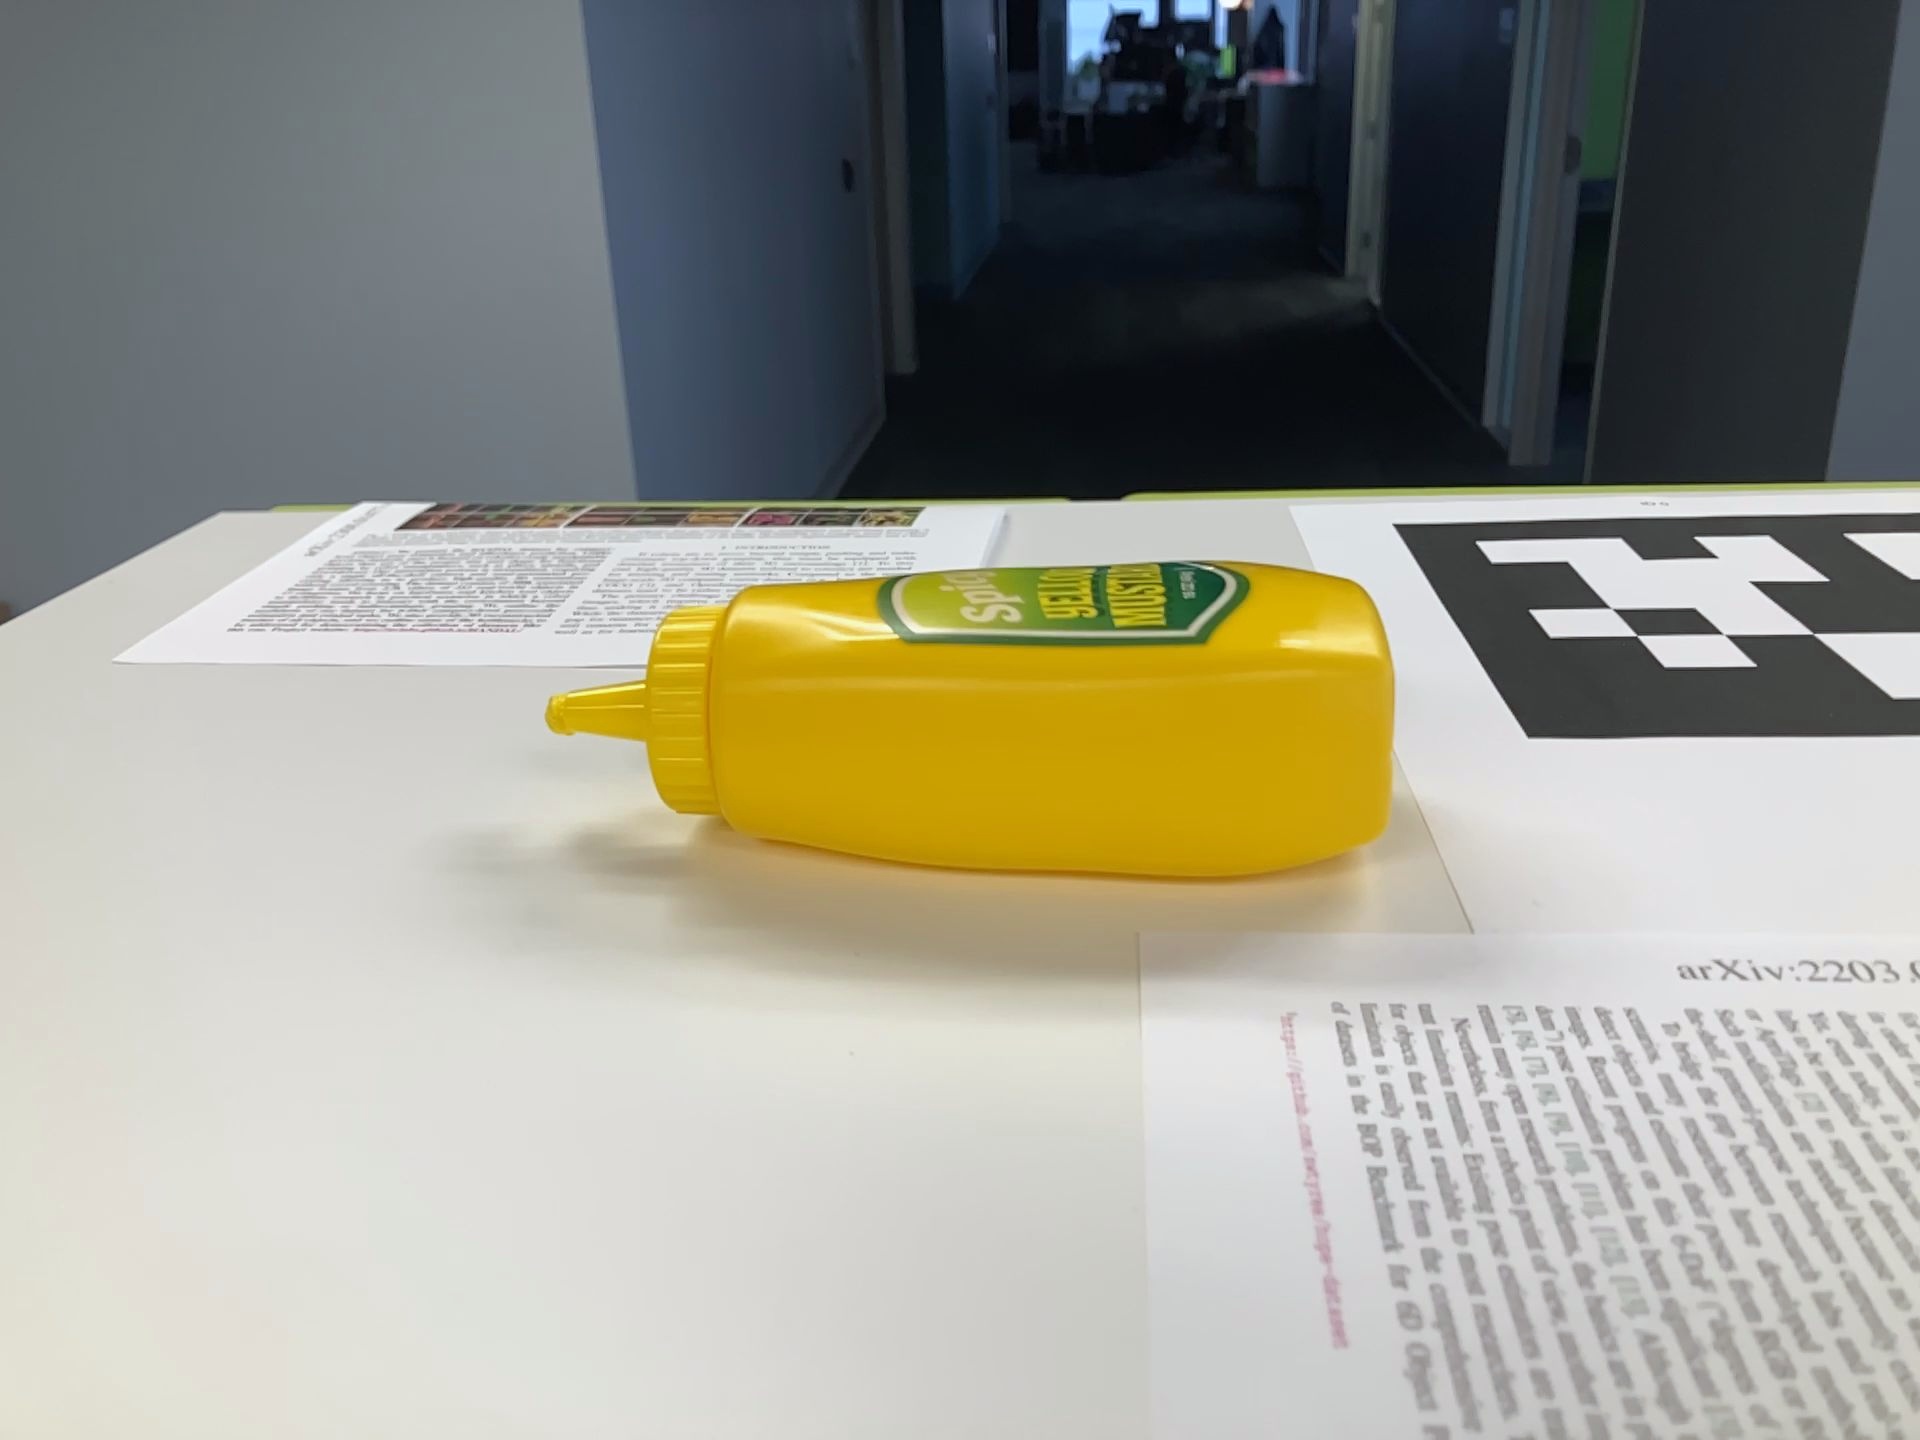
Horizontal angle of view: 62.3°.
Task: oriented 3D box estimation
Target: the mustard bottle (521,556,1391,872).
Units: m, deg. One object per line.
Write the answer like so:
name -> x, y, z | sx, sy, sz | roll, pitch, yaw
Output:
mustard bottle -> -0.005, -0.002, 0.293 | 0.160, 0.049, 0.065 | -1, 21, 5
